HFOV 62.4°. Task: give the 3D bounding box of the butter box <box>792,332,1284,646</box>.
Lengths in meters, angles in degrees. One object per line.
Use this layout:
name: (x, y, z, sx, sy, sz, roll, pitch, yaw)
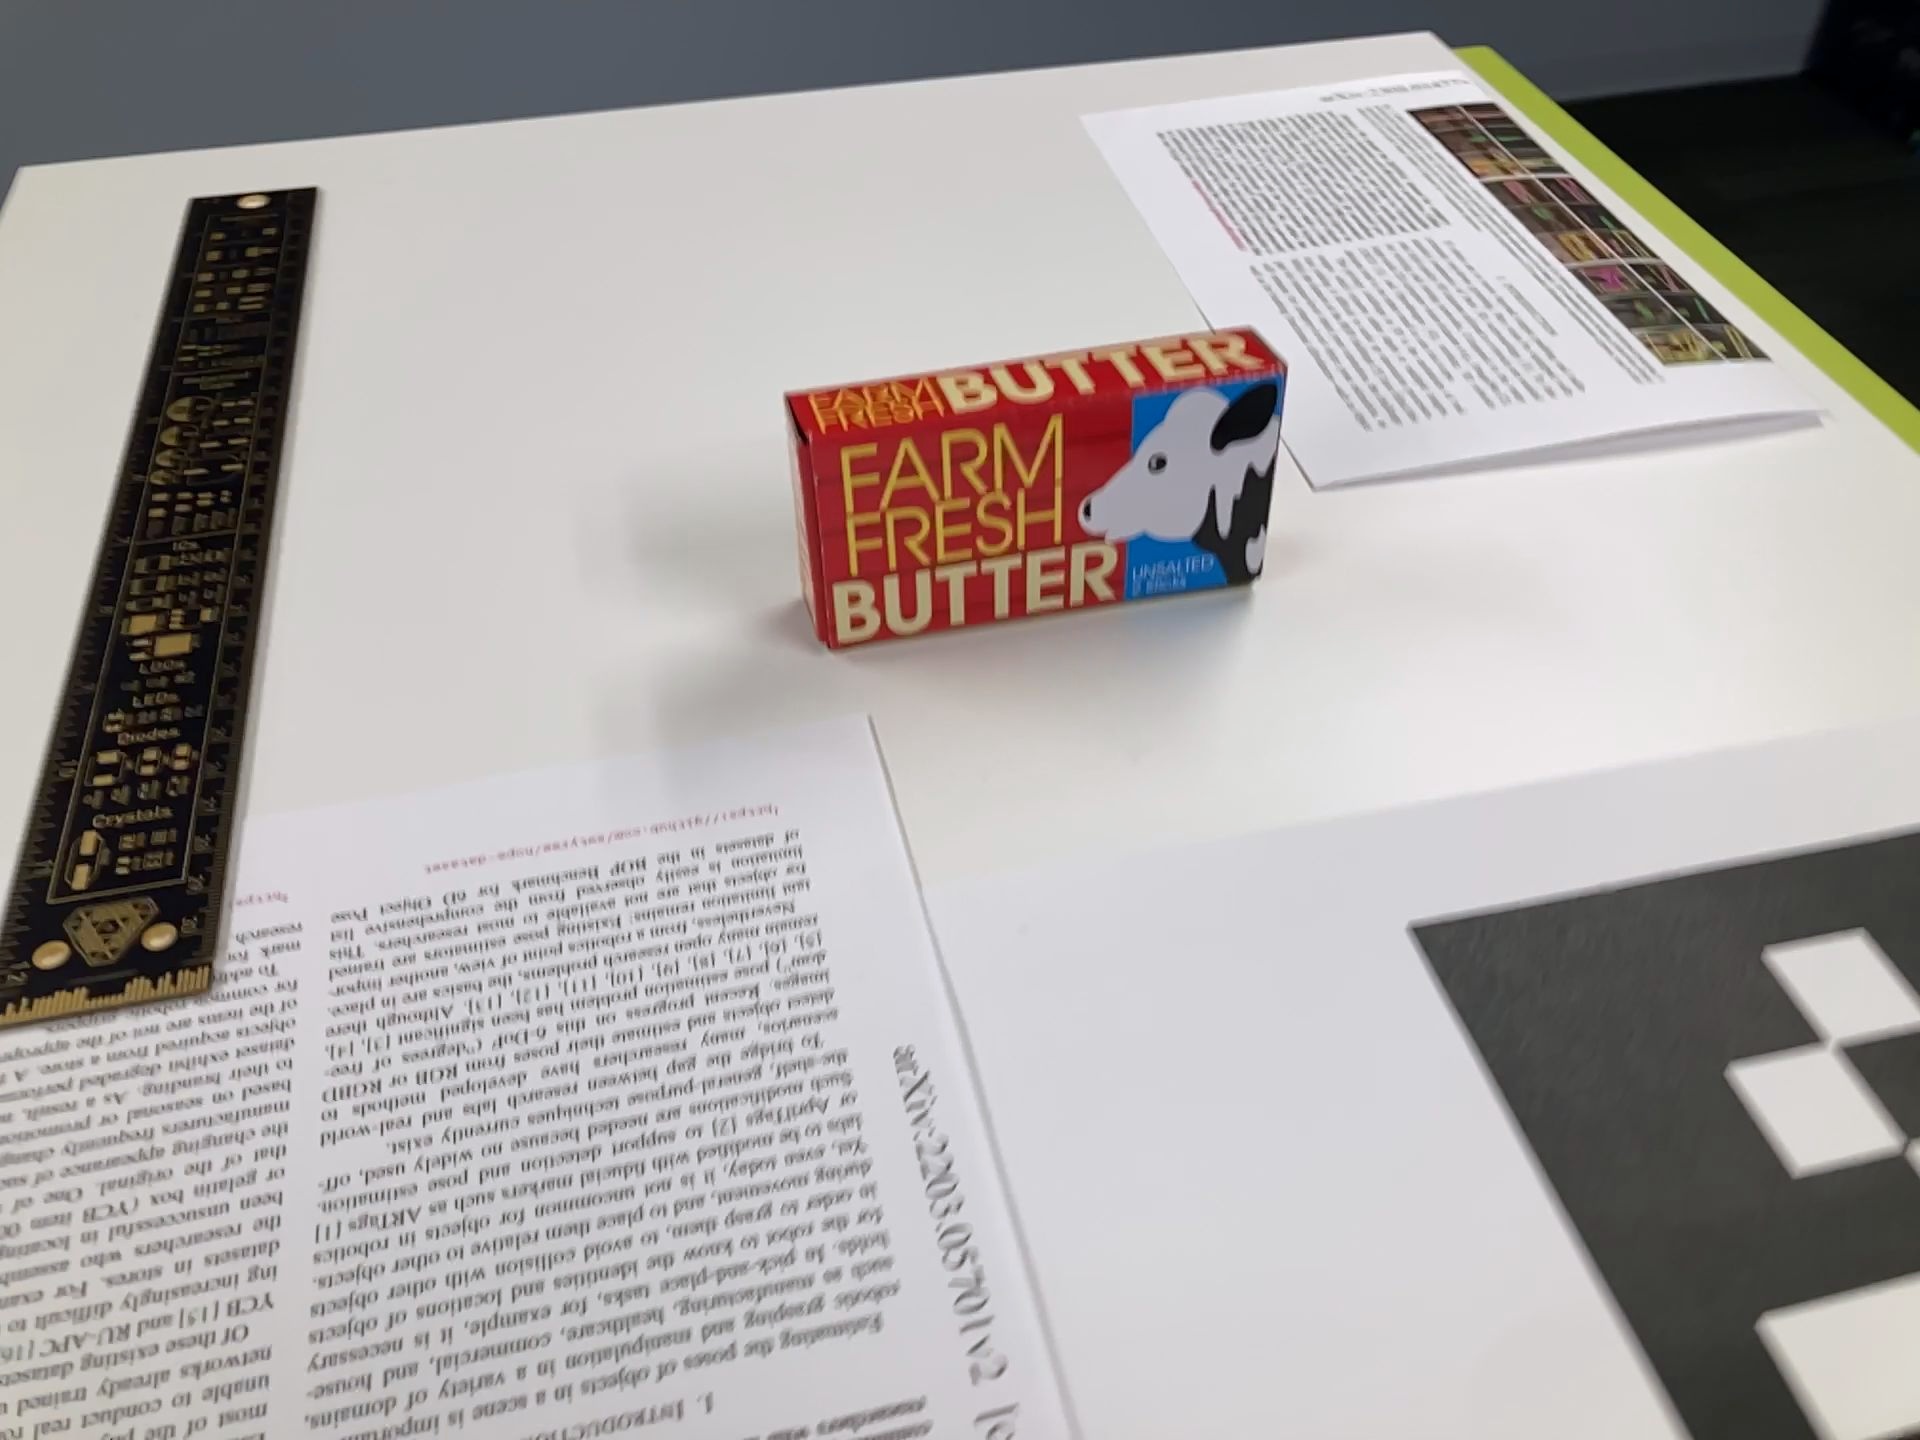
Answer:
butter box: (0.017, -0.051, 0.347, 0.103, 0.053, 0.024, -9, 40, -10)
